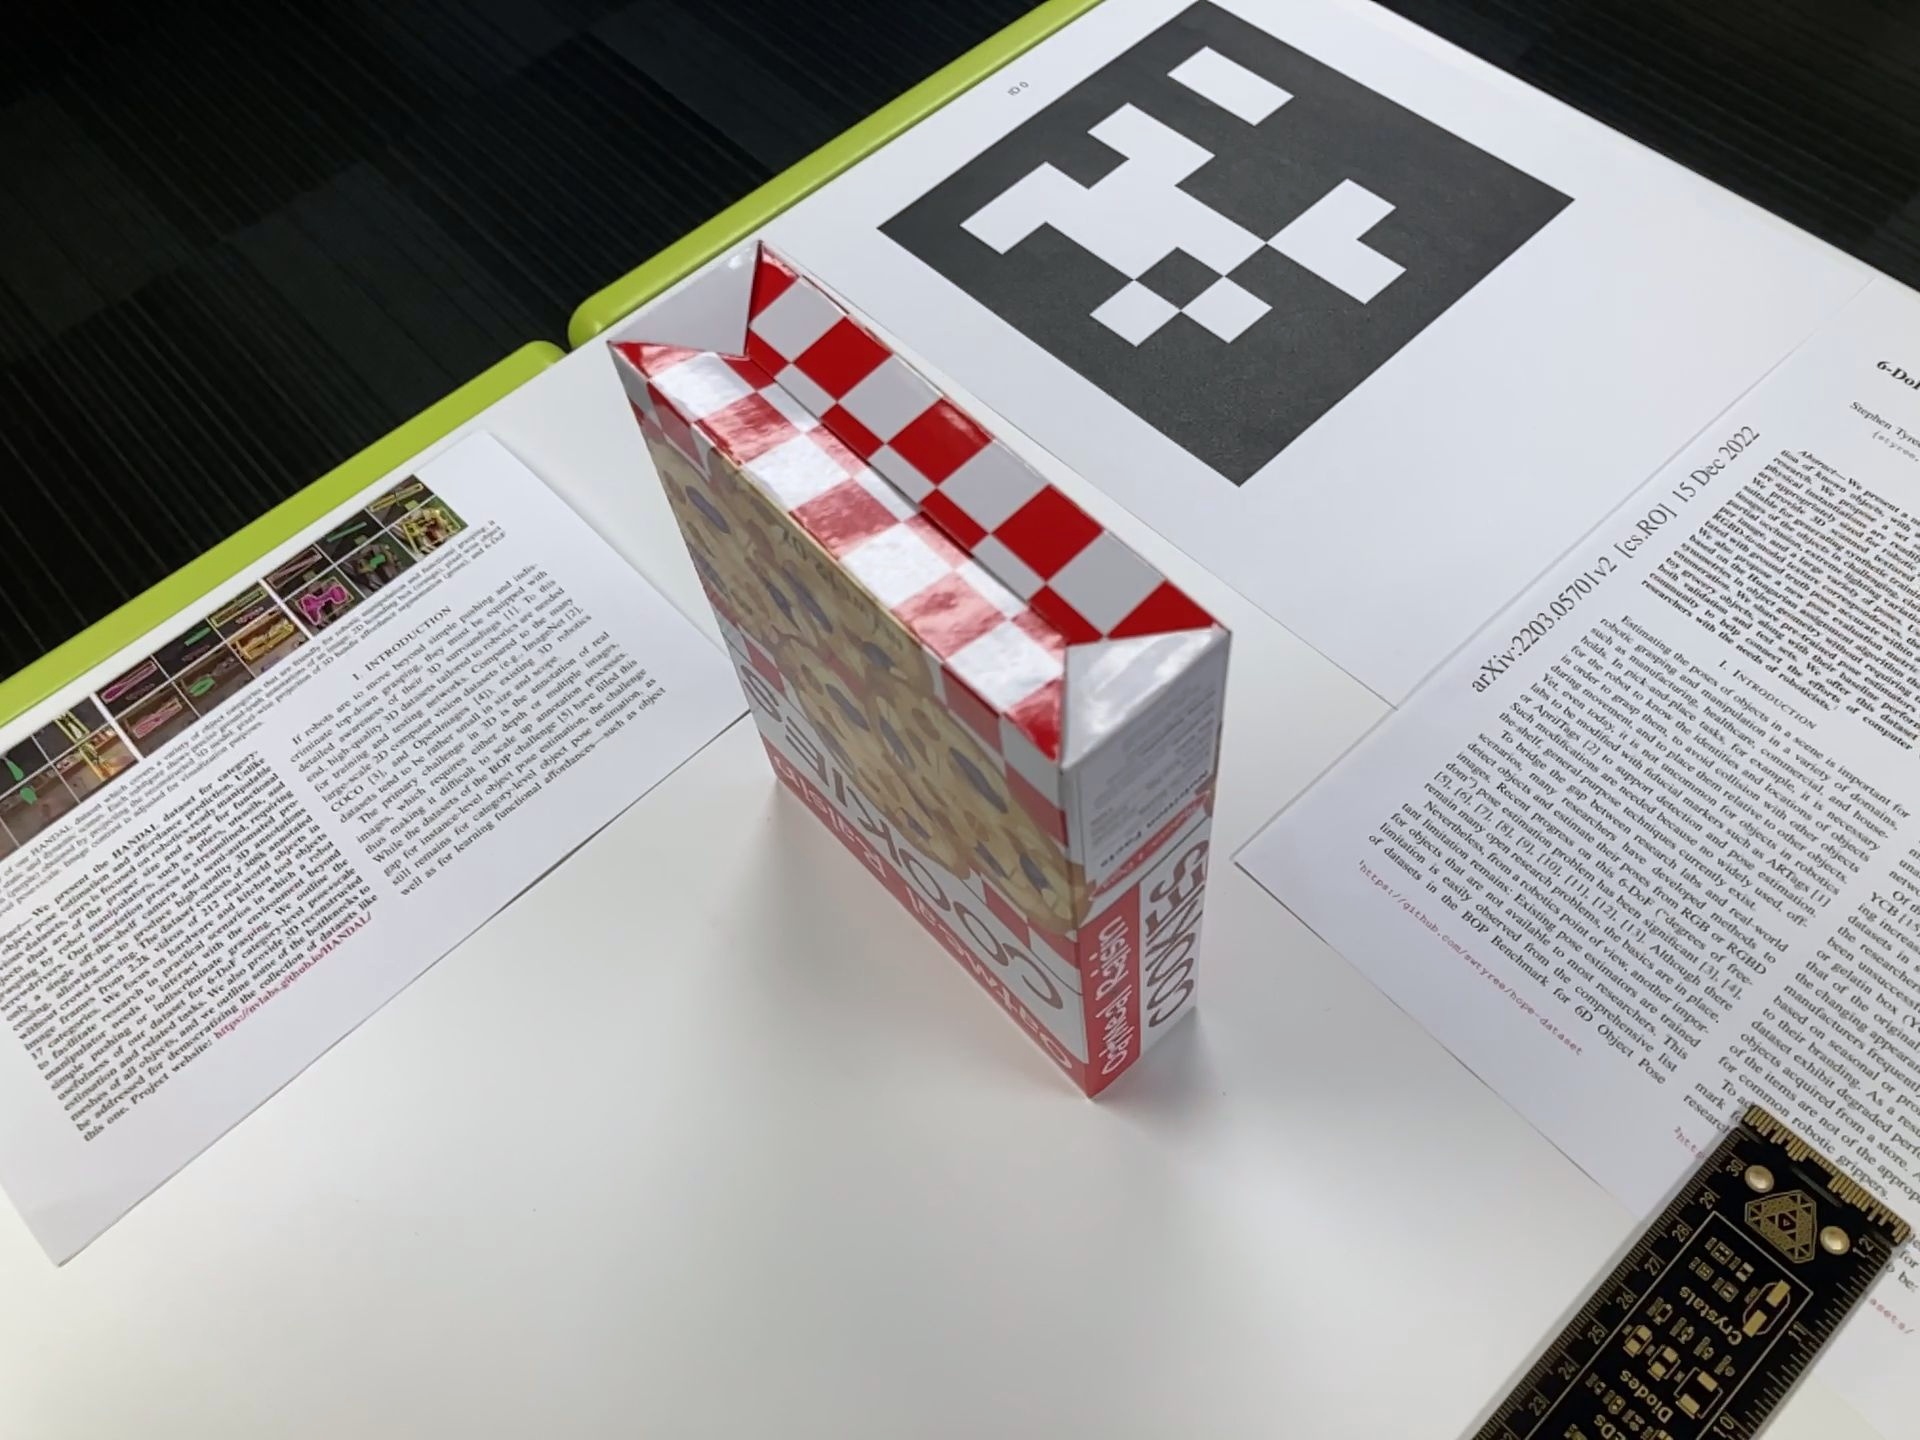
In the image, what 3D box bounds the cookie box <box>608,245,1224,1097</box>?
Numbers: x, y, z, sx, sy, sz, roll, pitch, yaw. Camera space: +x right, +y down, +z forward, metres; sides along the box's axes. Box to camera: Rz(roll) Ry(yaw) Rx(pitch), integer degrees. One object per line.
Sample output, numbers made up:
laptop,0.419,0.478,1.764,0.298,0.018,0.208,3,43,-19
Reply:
cookie box,-0.003,0.000,0.338,0.040,0.167,0.123,-39,63,-16
